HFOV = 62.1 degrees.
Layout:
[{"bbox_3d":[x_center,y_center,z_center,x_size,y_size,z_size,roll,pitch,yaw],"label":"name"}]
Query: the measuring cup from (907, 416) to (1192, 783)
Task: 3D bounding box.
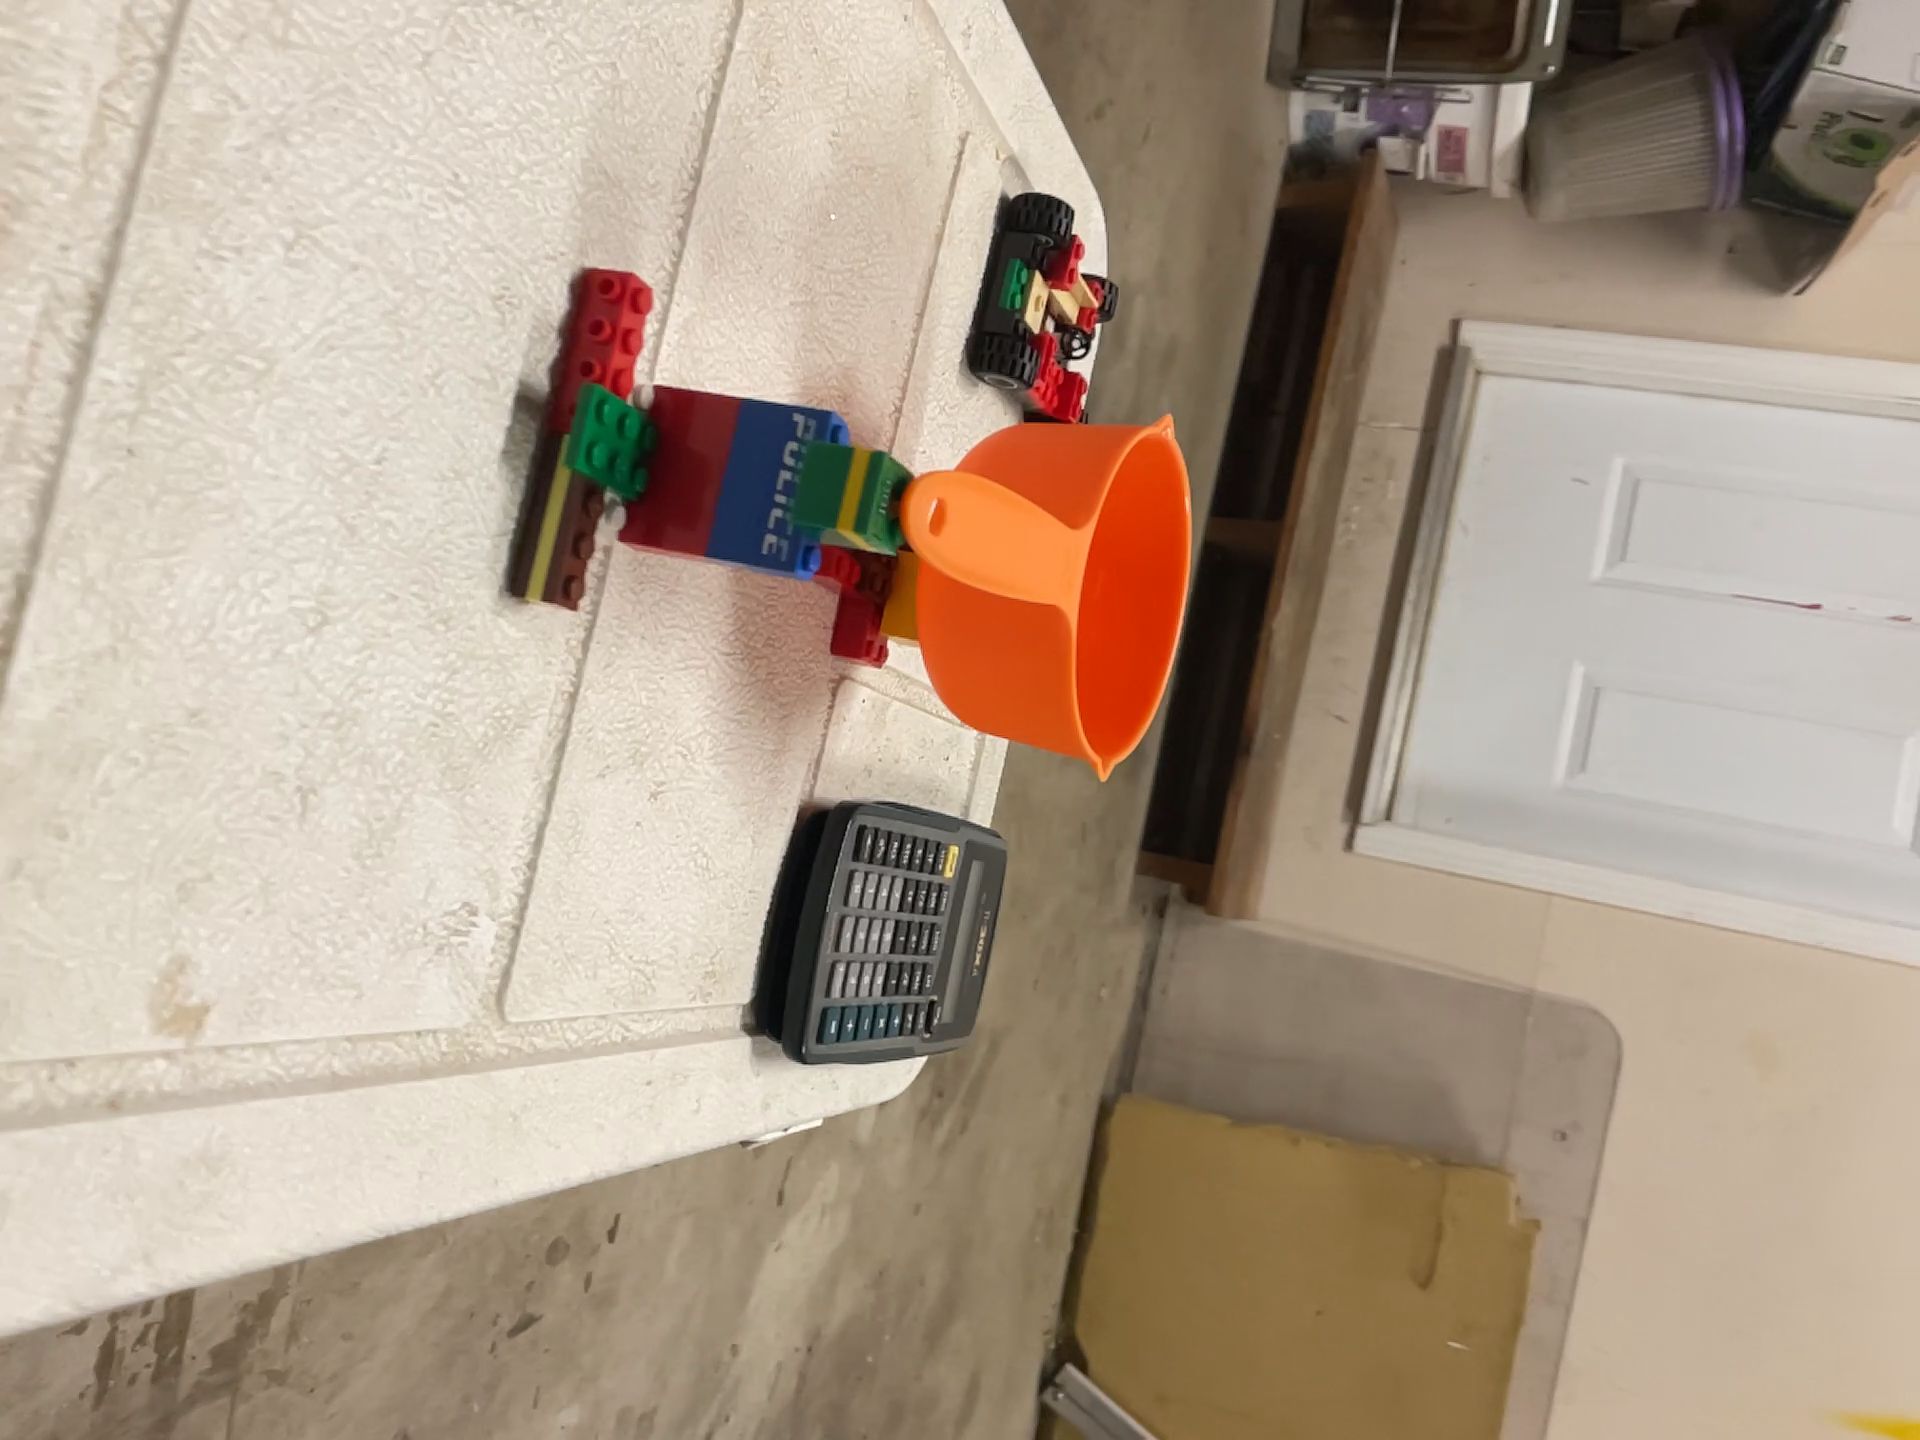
[{"bbox_3d":[0.007,-0.038,0.381,0.173,0.052,0.095,9,91,-66],"label":"measuring cup"}]
